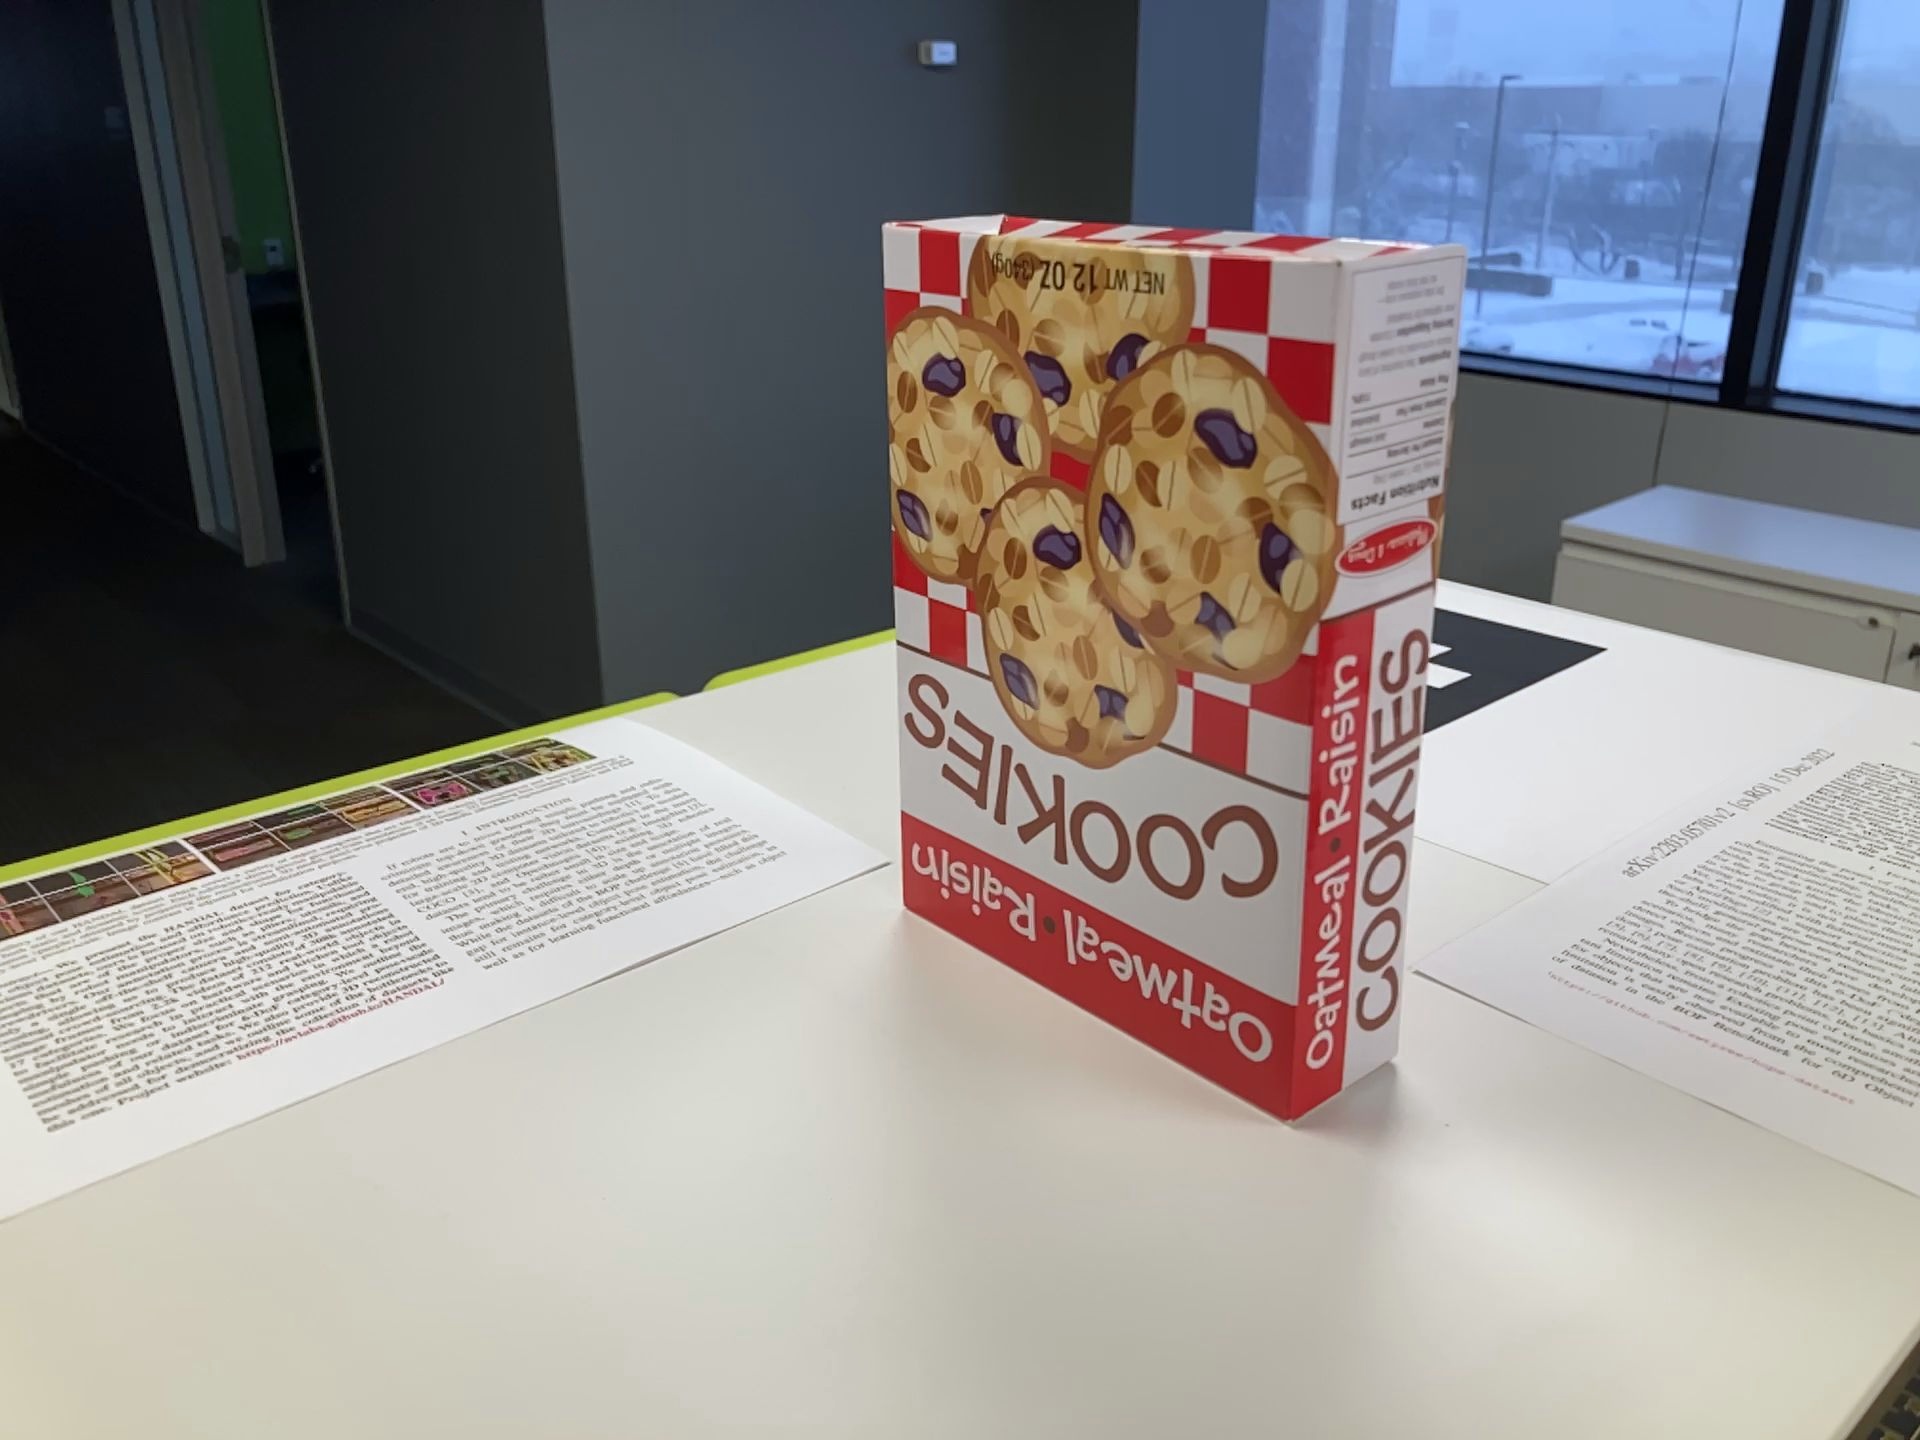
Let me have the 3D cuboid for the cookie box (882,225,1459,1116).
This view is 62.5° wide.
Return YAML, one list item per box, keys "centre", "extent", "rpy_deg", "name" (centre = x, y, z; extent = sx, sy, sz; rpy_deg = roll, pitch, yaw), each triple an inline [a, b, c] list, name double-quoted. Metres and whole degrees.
- centre: [0.038, -0.017, 0.340]
  extent: [0.040, 0.167, 0.123]
  rpy_deg: [-17, 26, -37]
  name: "cookie box"
